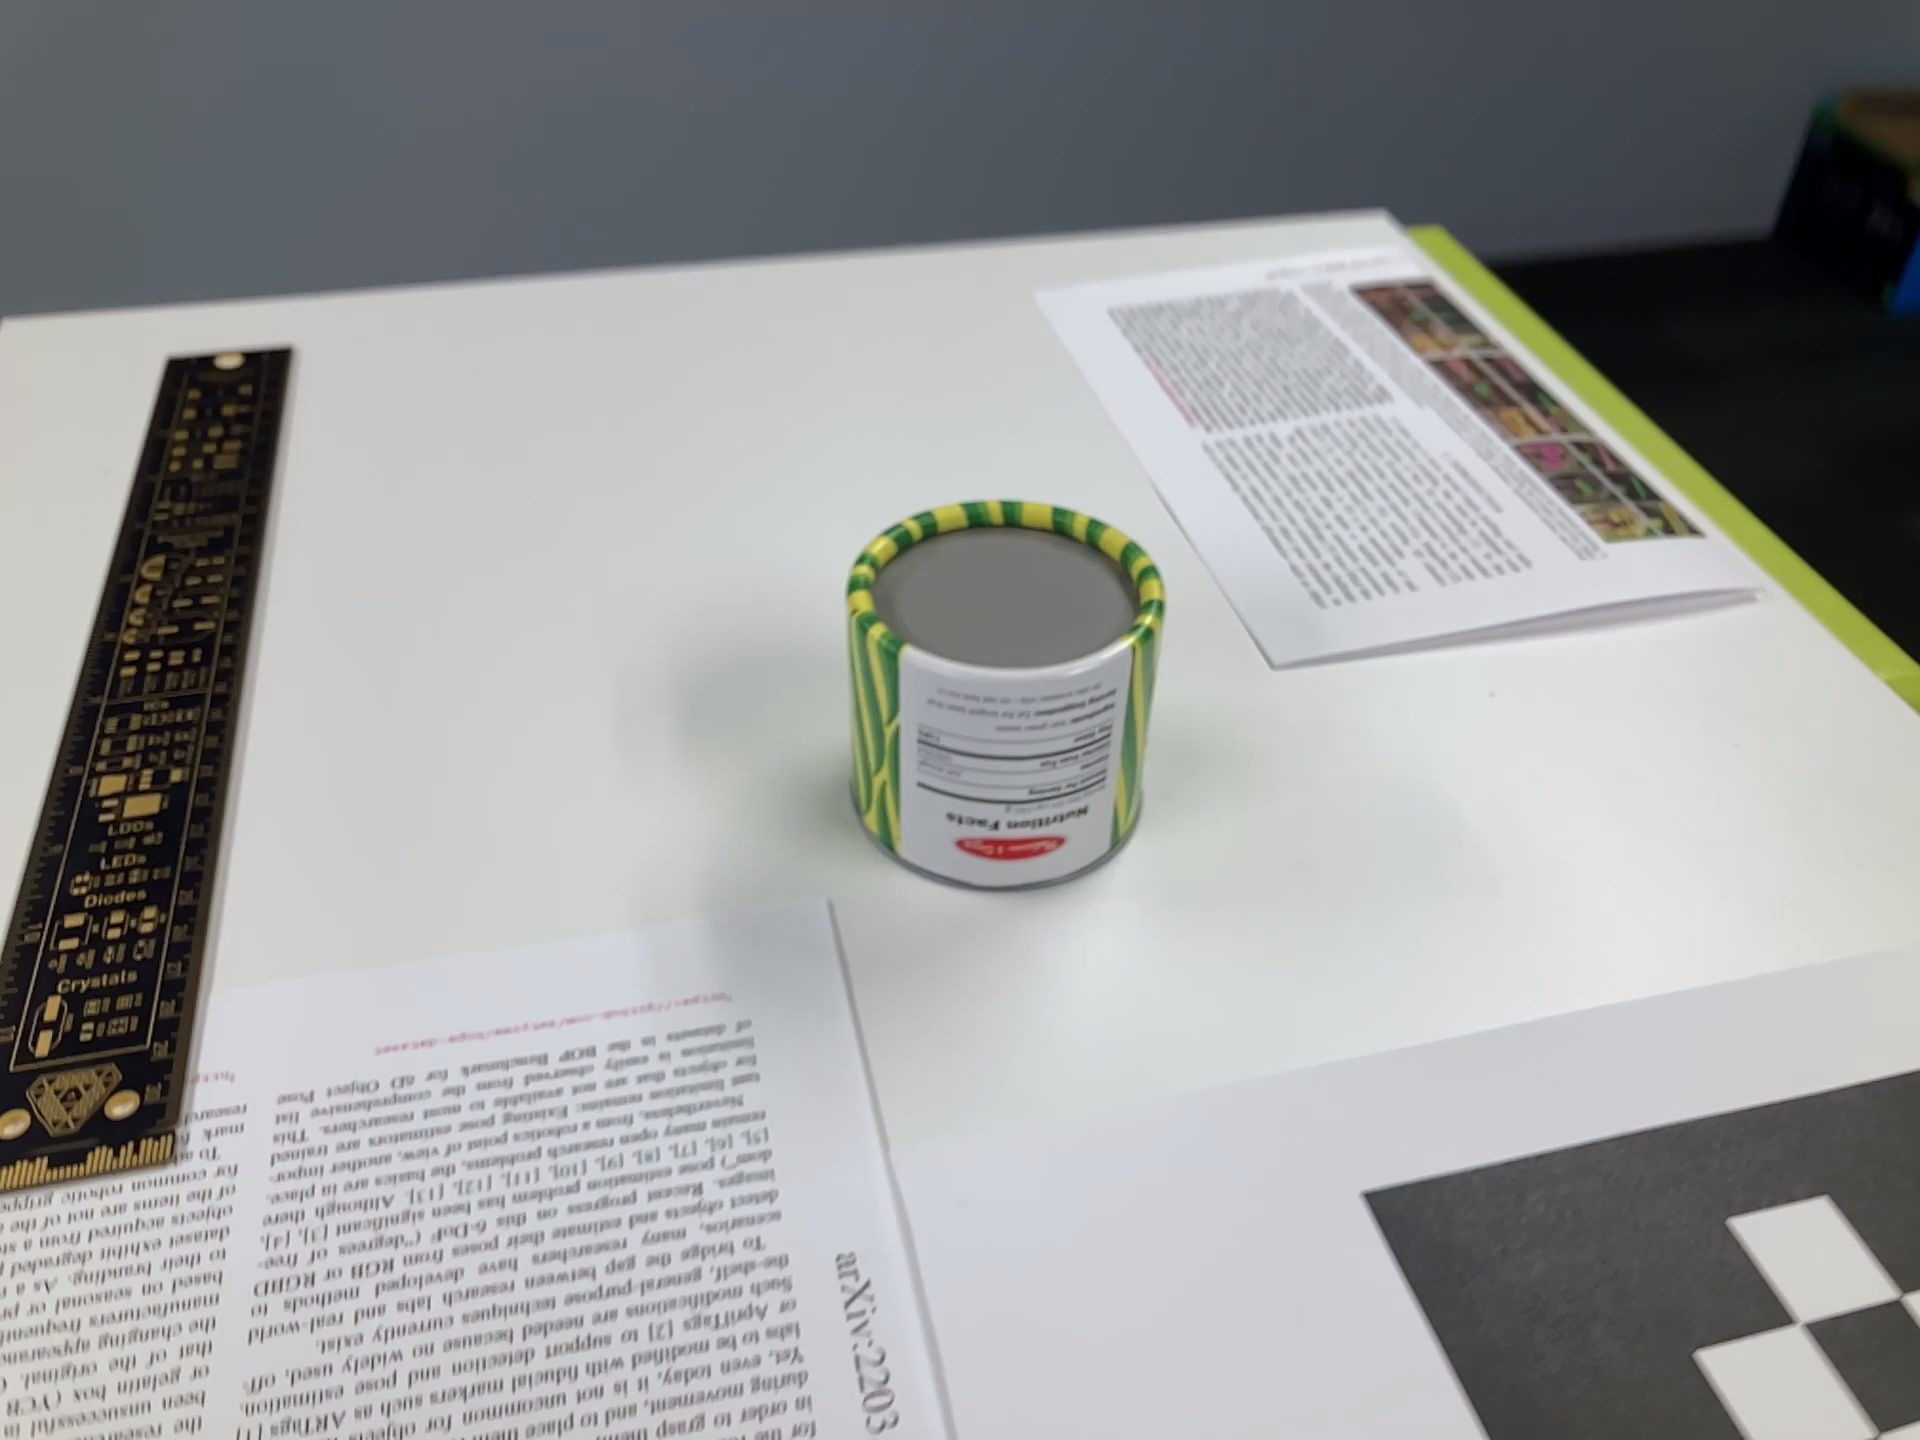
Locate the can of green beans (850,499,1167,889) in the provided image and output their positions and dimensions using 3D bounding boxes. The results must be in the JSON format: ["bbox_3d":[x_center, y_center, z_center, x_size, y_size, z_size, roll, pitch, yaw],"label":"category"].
[{"bbox_3d":[0.009,-0.007,0.348,0.071,0.058,0.071,1,40,-1],"label":"can of green beans"}]
